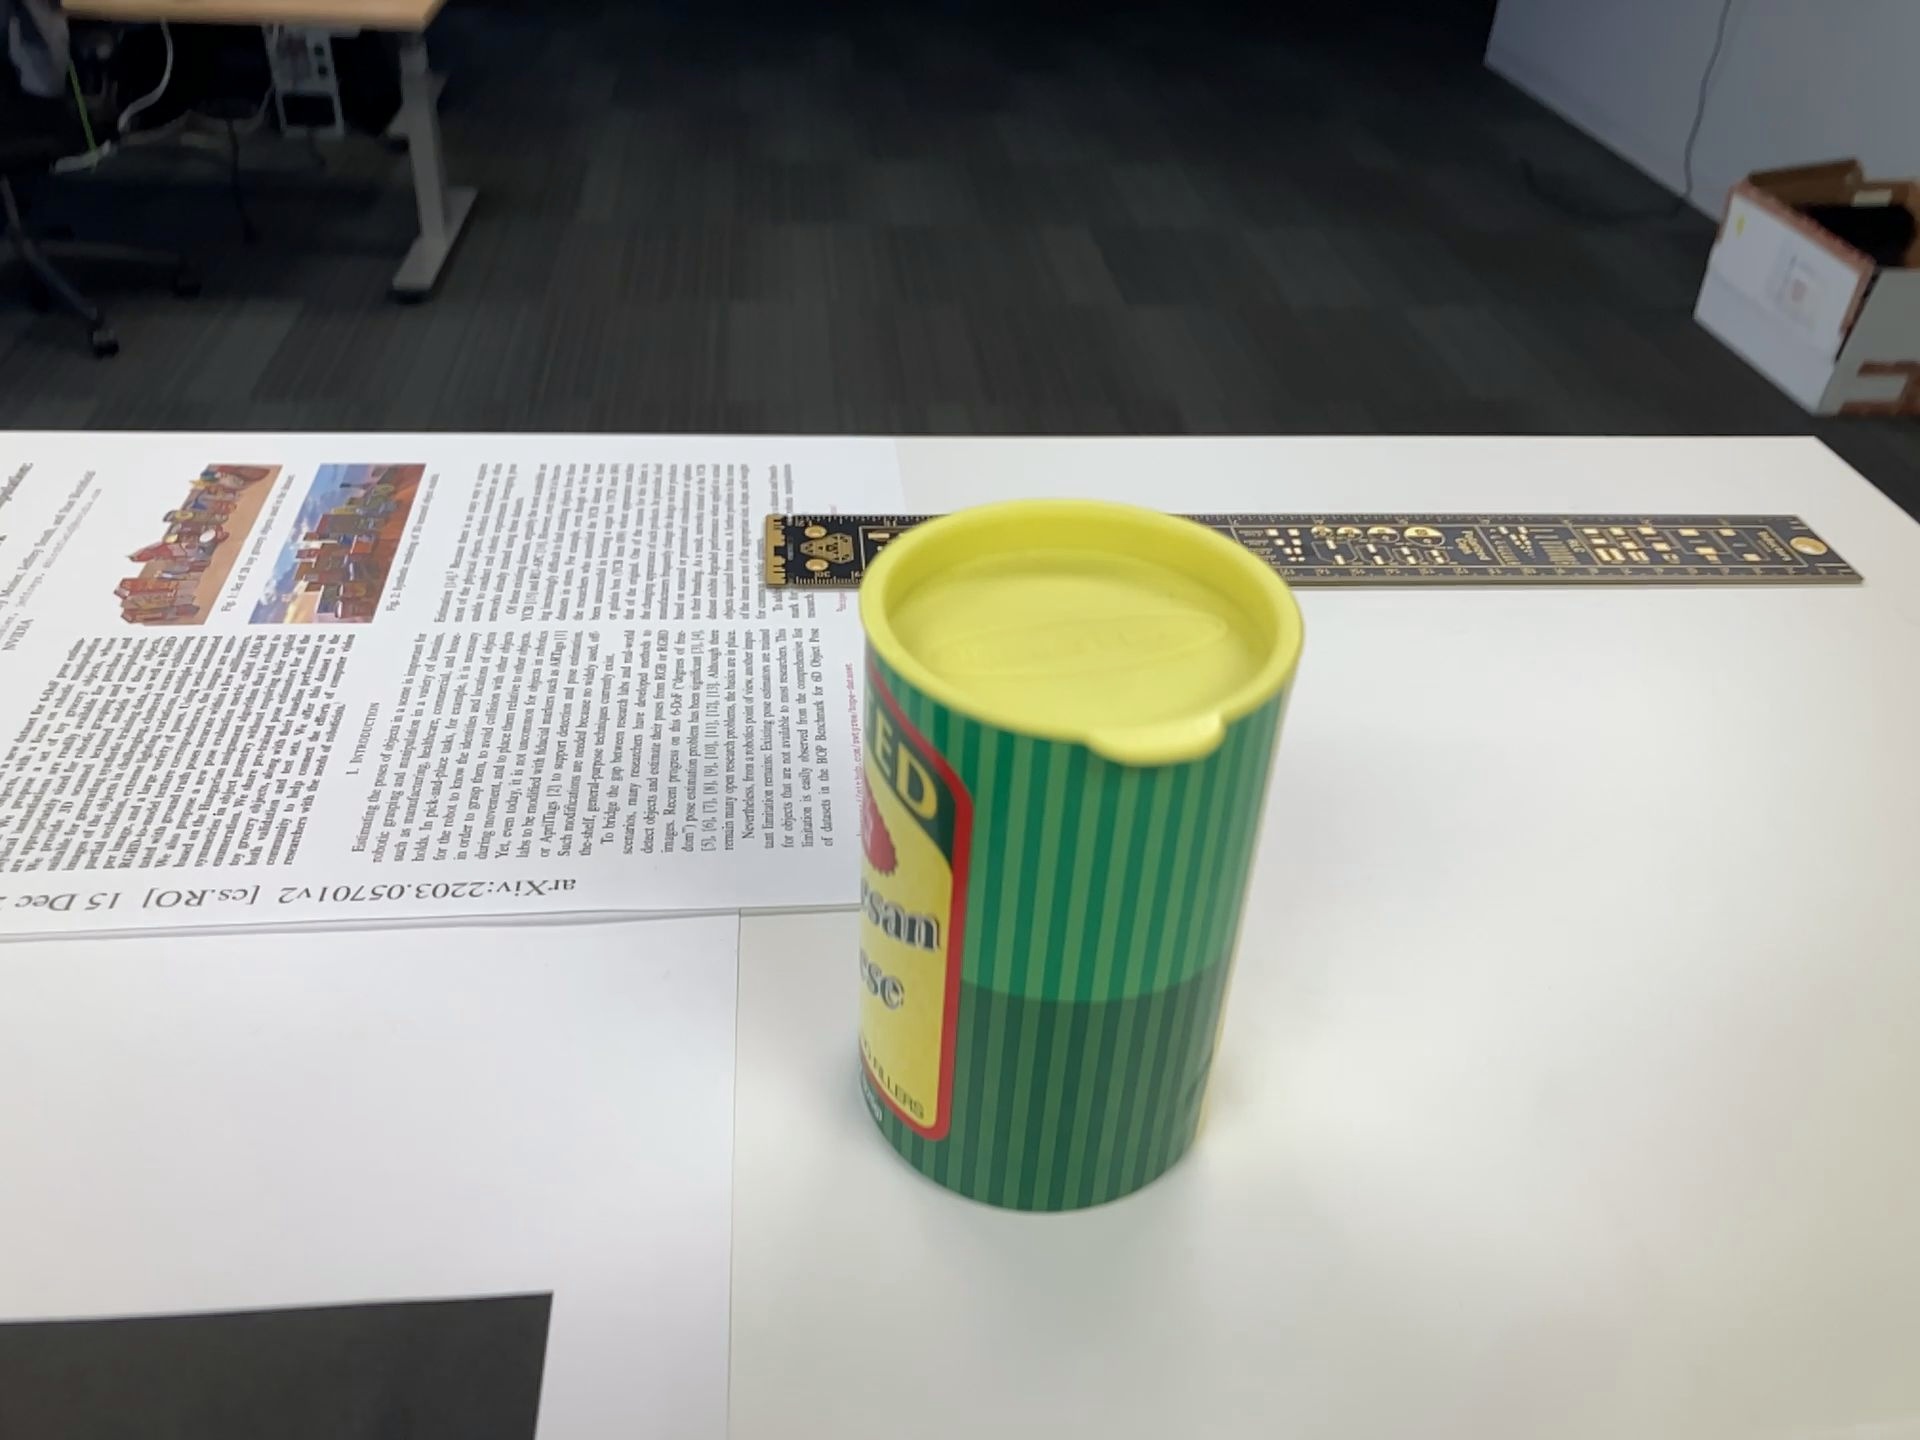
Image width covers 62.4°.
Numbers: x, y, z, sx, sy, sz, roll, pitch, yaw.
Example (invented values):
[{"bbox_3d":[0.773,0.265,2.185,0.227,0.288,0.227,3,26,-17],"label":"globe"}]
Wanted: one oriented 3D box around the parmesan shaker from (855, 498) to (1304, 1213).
[{"bbox_3d":[0.016,0.026,0.262,0.071,0.103,0.071,2,35,-2],"label":"parmesan shaker"}]
